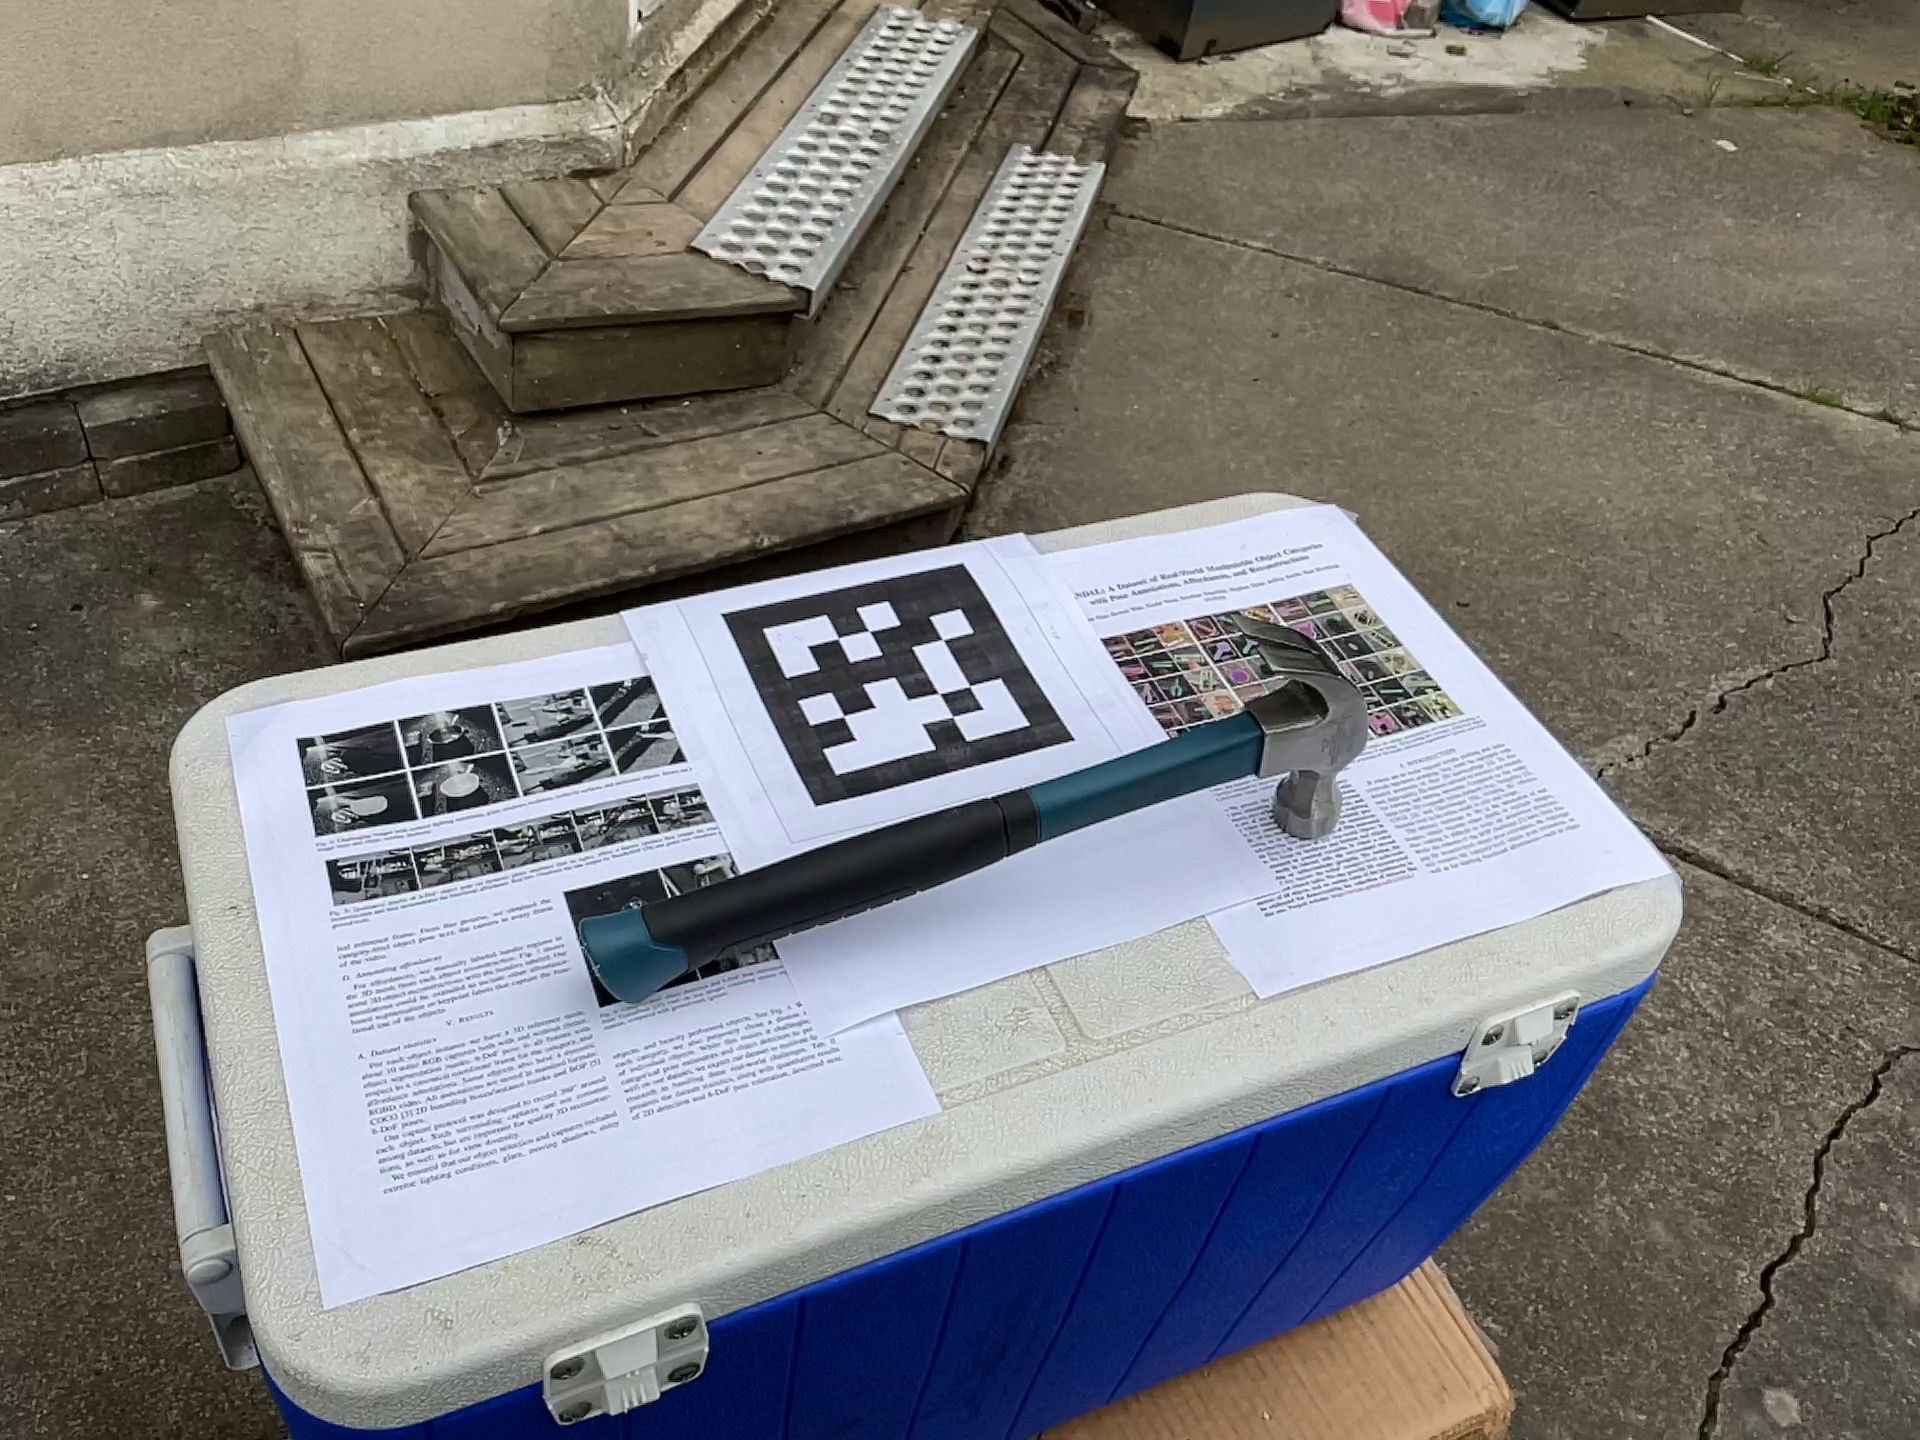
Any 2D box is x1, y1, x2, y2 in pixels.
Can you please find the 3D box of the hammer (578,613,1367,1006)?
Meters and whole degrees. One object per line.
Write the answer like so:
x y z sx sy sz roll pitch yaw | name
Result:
0.015 0.044 0.635 0.331 0.128 0.033 -18 48 -15 | hammer
